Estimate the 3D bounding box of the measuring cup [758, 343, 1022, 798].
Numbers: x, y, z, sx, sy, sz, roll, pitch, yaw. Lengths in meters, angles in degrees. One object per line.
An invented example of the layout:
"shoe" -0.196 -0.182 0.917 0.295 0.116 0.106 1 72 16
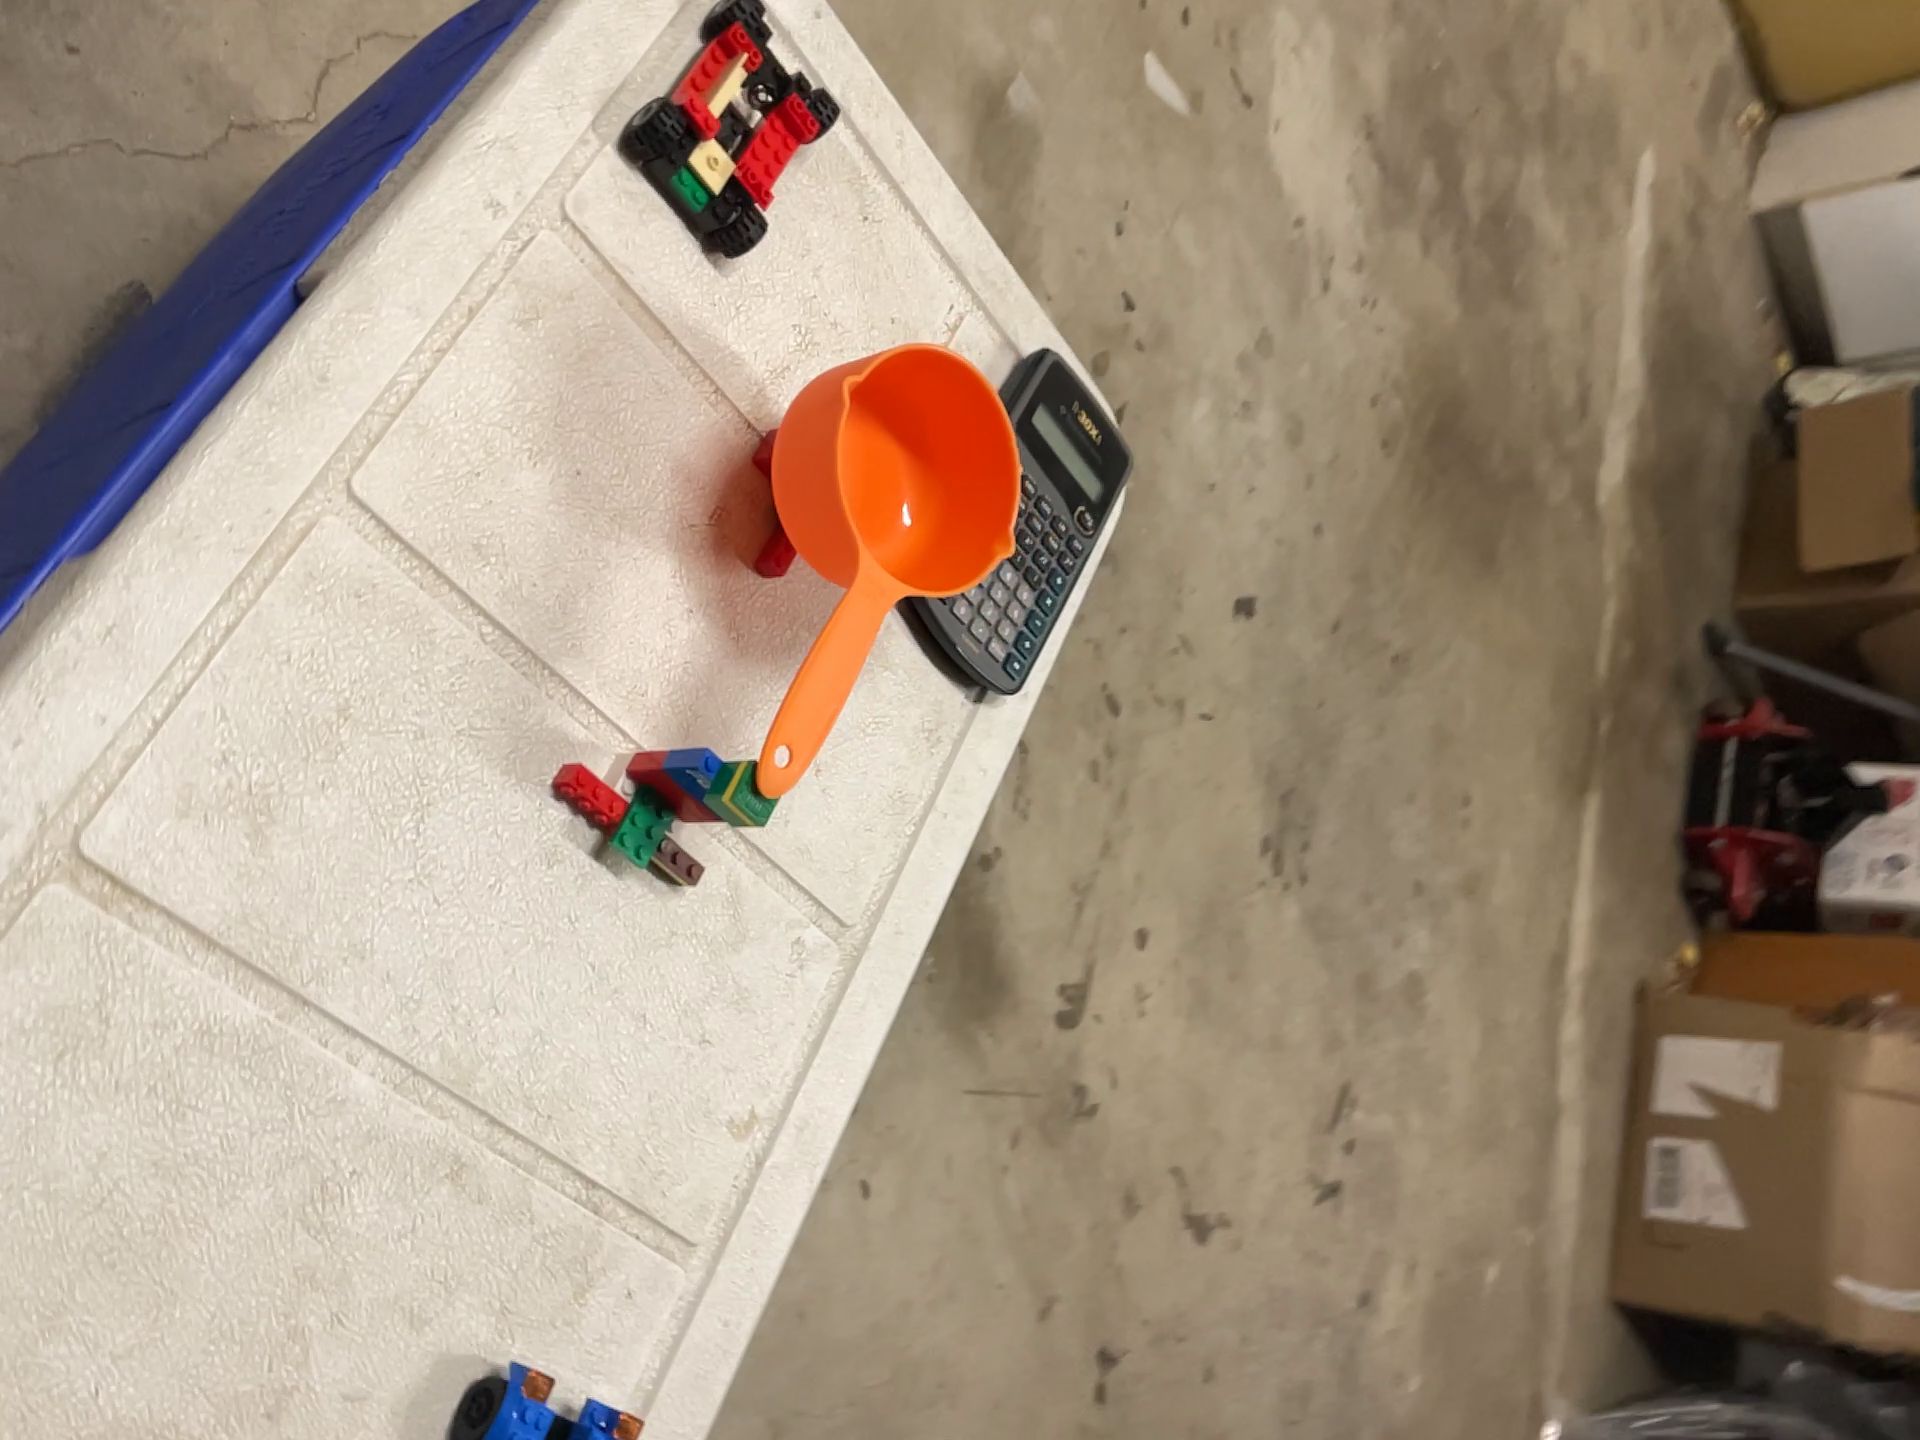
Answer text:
"measuring cup" -0.042 -0.051 0.555 0.095 0.052 0.174 41 64 -37
